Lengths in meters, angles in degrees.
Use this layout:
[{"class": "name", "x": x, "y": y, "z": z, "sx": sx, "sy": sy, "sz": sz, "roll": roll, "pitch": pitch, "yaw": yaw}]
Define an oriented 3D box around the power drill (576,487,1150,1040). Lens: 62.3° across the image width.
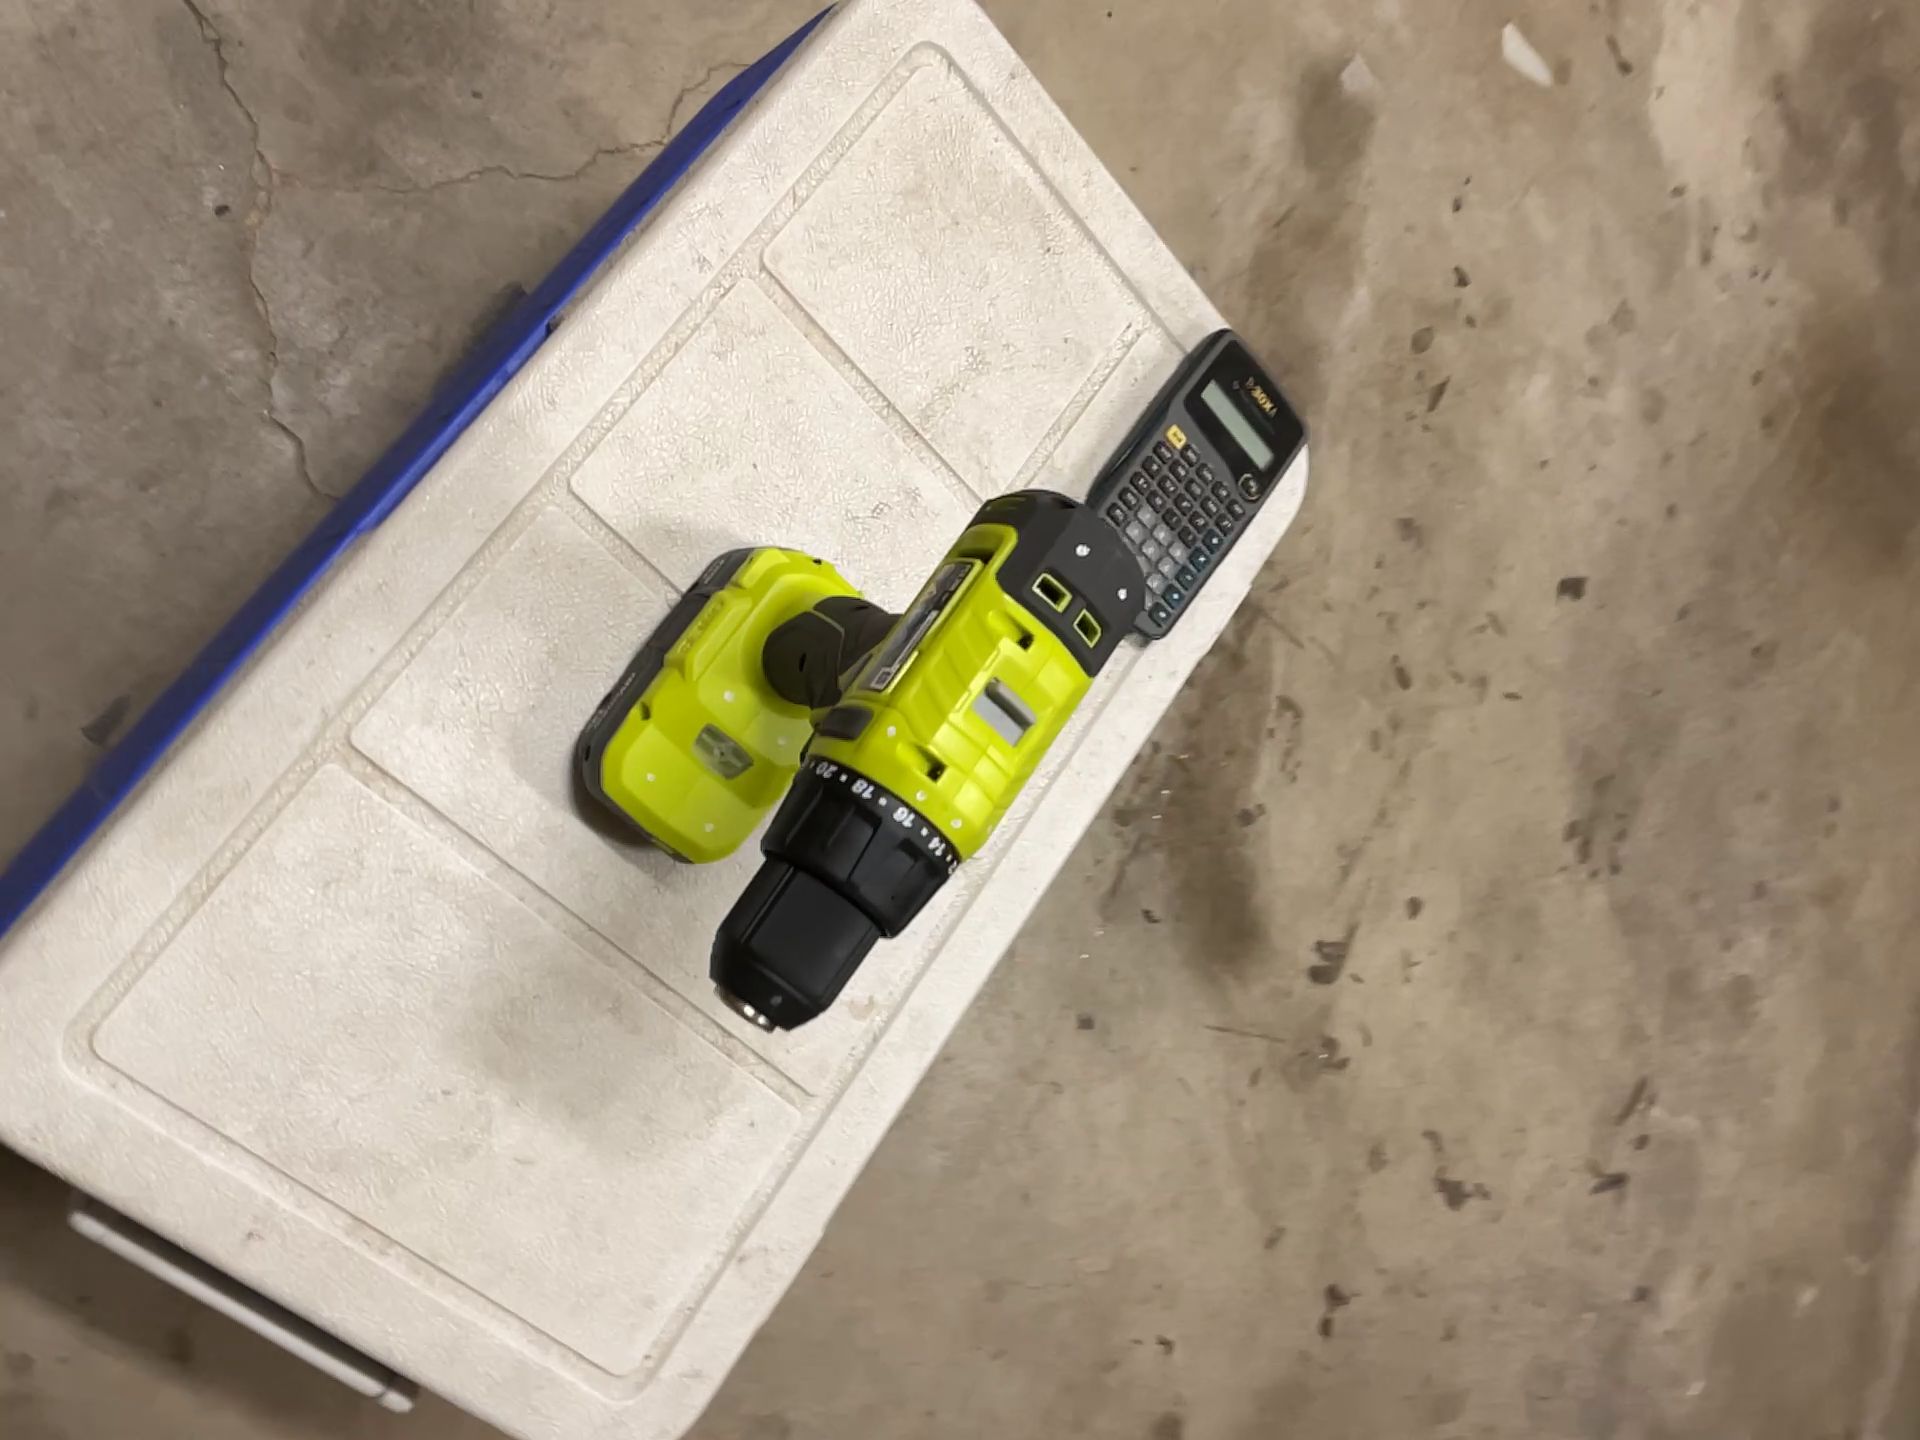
[{"class": "power drill", "x": -0.054, "y": 0.009, "z": 0.569, "sx": 0.080, "sy": 0.228, "sz": 0.191, "roll": 43, "pitch": 73, "yaw": -26}]
